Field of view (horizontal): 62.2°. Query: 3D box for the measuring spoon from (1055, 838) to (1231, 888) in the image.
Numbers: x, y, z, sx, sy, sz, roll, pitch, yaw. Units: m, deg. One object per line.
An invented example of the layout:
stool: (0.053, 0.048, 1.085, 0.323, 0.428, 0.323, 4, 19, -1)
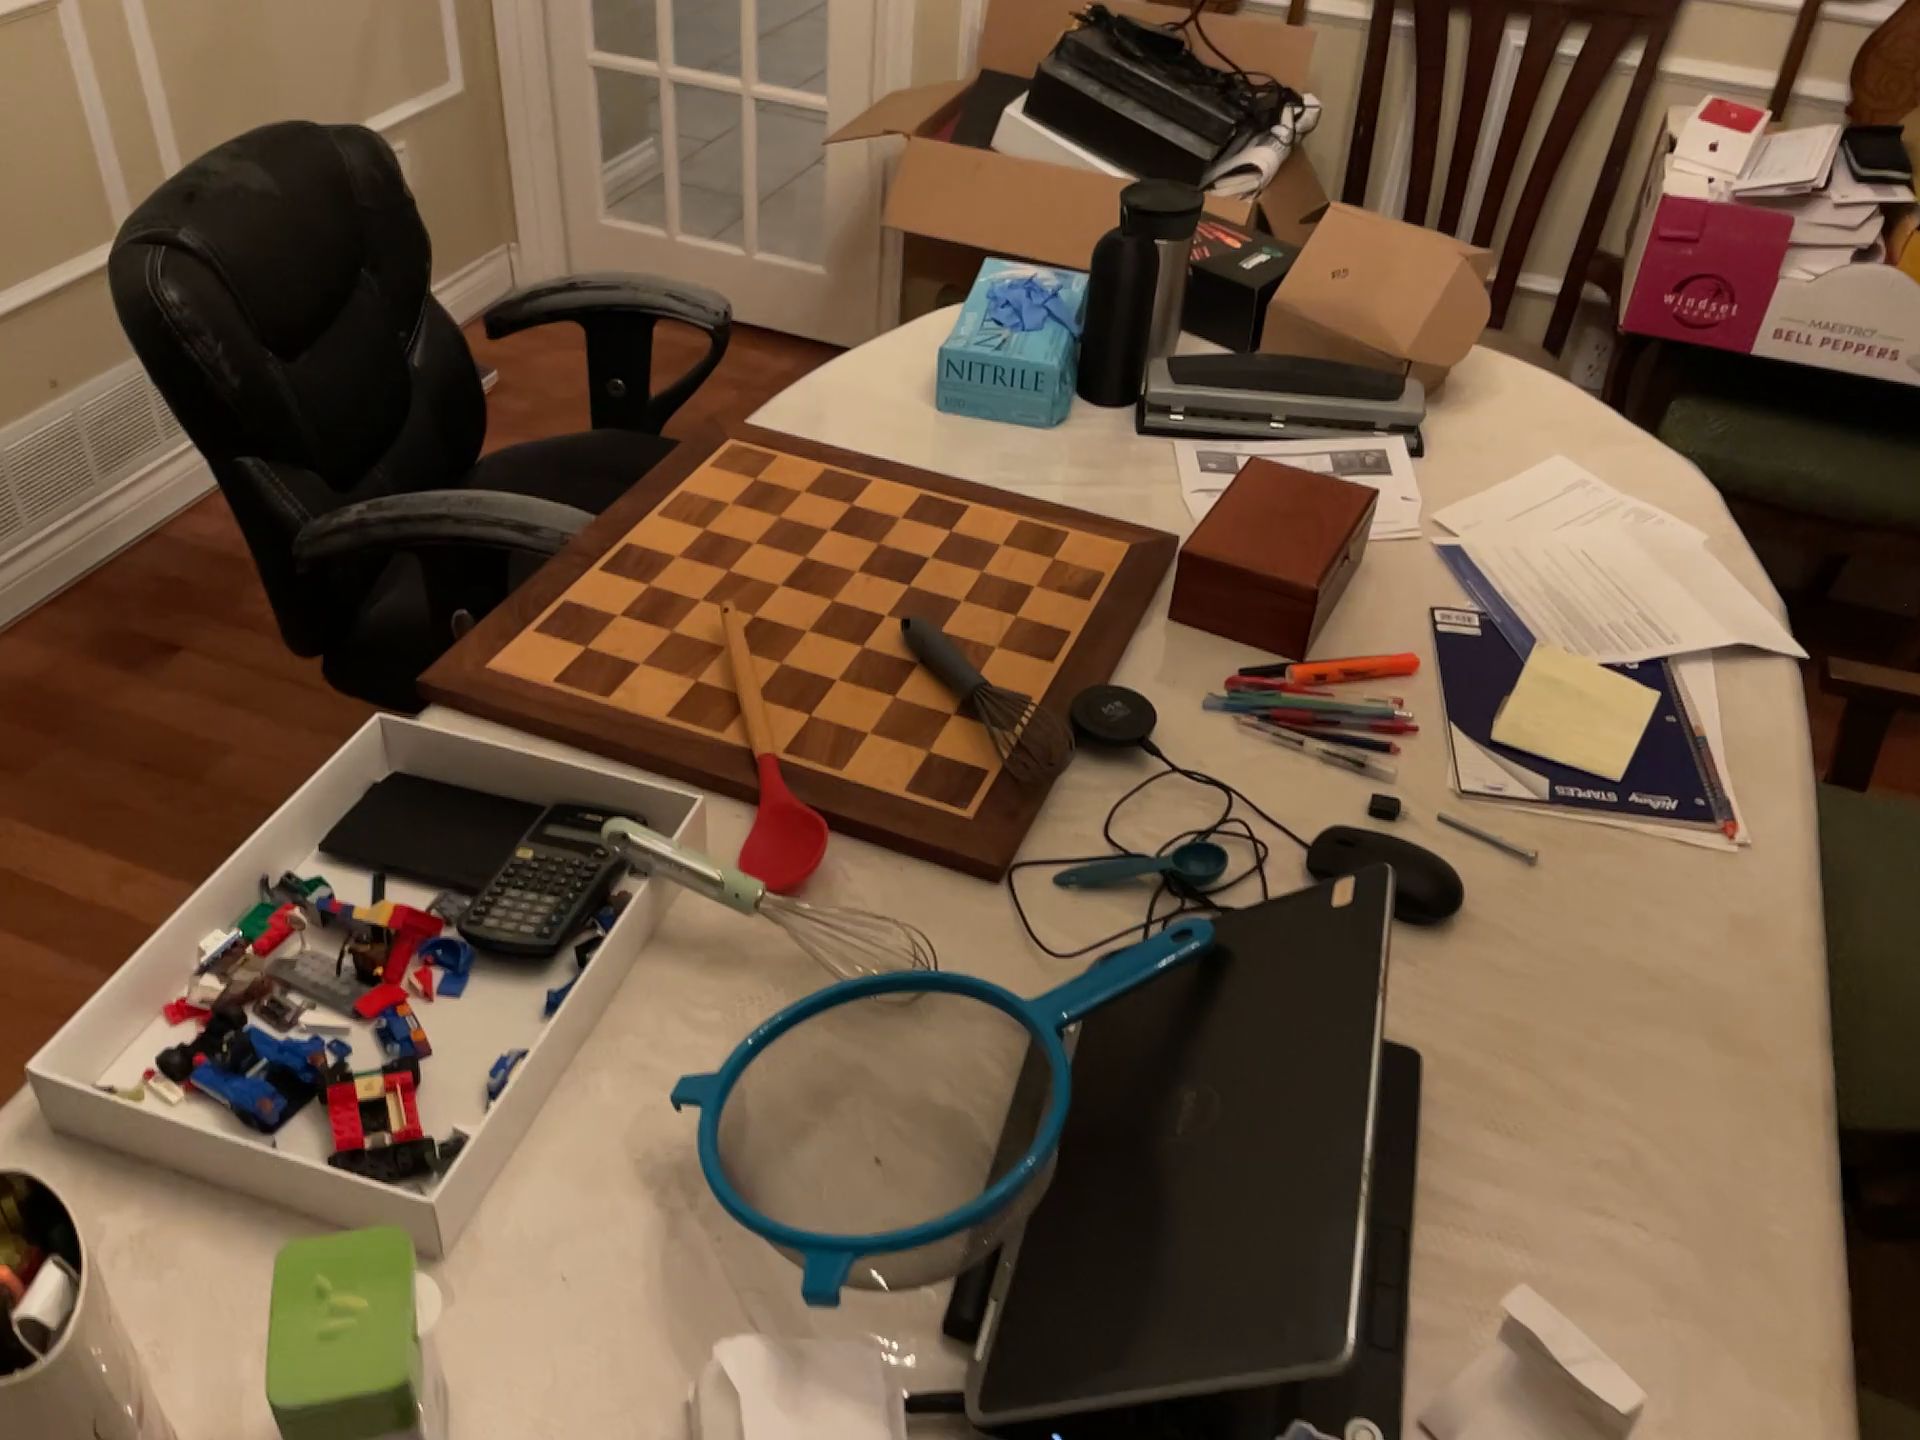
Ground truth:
measuring spoon: (0.133, 0.113, 1.150, 0.128, 0.021, 0.042, -10, 31, 1)

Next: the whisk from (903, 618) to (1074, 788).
whisk: (0.018, -0.020, 1.260, 0.055, 0.055, 0.239, -5, 33, -33)

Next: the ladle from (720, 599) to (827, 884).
ladle: (-0.155, 0.010, 1.214, 0.069, 0.031, 0.316, -22, 46, 2)

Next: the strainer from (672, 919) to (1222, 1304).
strainer: (0.019, 0.221, 0.930, 0.340, 0.095, 0.211, -23, 33, -23)

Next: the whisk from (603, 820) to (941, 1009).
whisk: (-0.124, 0.125, 1.050, 0.246, 0.058, 0.059, 24, 10, 2)
